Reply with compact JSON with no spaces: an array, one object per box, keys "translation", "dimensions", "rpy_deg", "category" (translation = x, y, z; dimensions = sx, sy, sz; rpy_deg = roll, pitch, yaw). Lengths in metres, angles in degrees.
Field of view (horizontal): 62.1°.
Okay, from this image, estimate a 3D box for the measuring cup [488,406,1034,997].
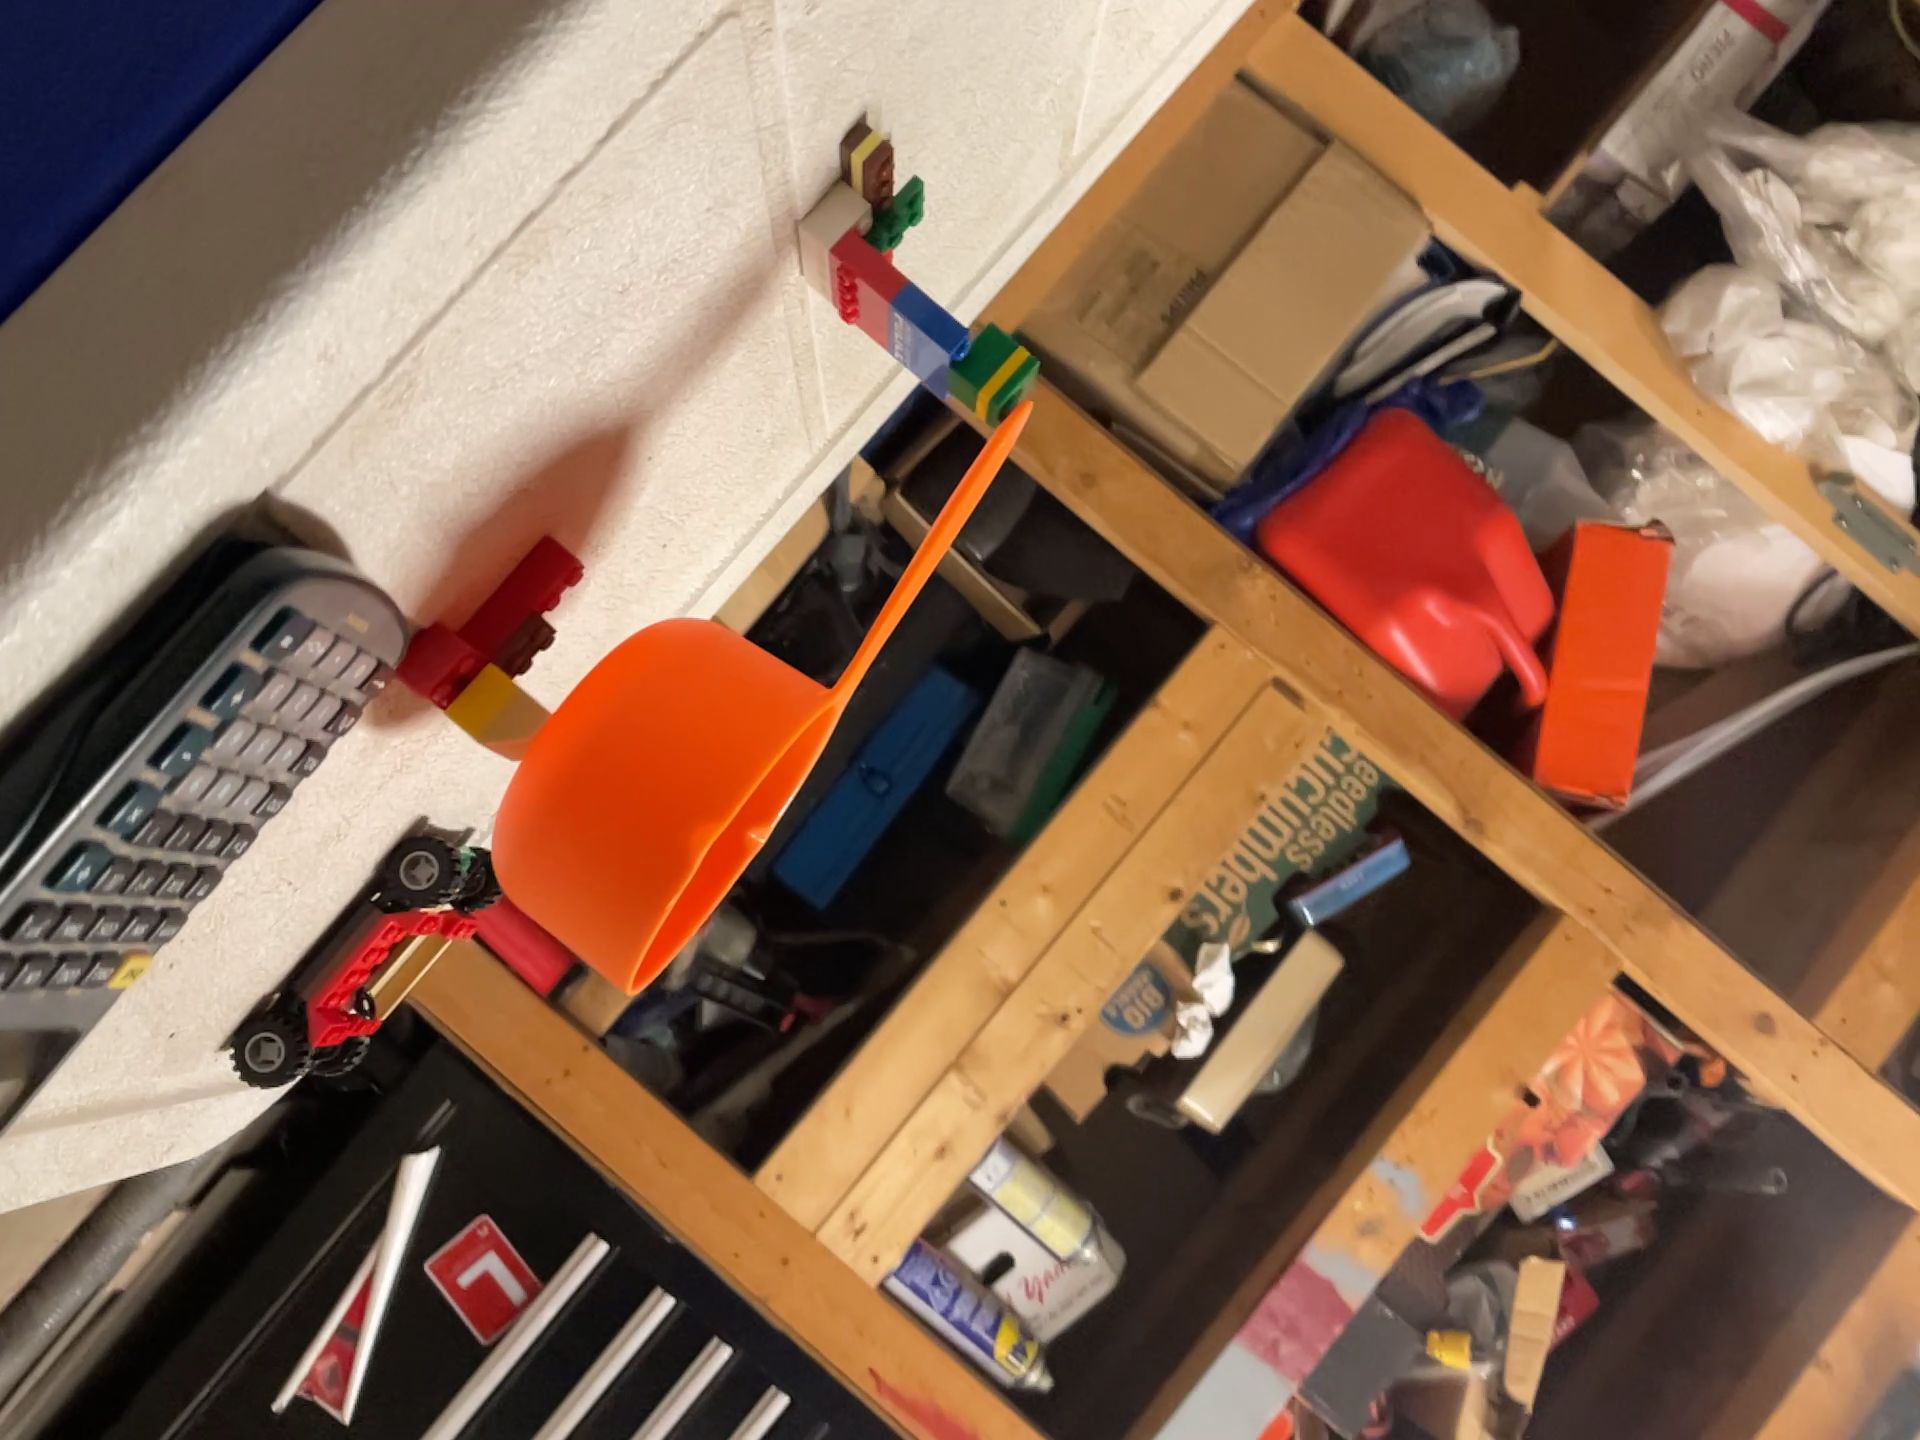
[{"translation":[-0.049,-0.018,0.390],"dimensions":[0.173,0.052,0.095],"rpy_deg":[-56,177,-3],"category":"measuring cup"}]
